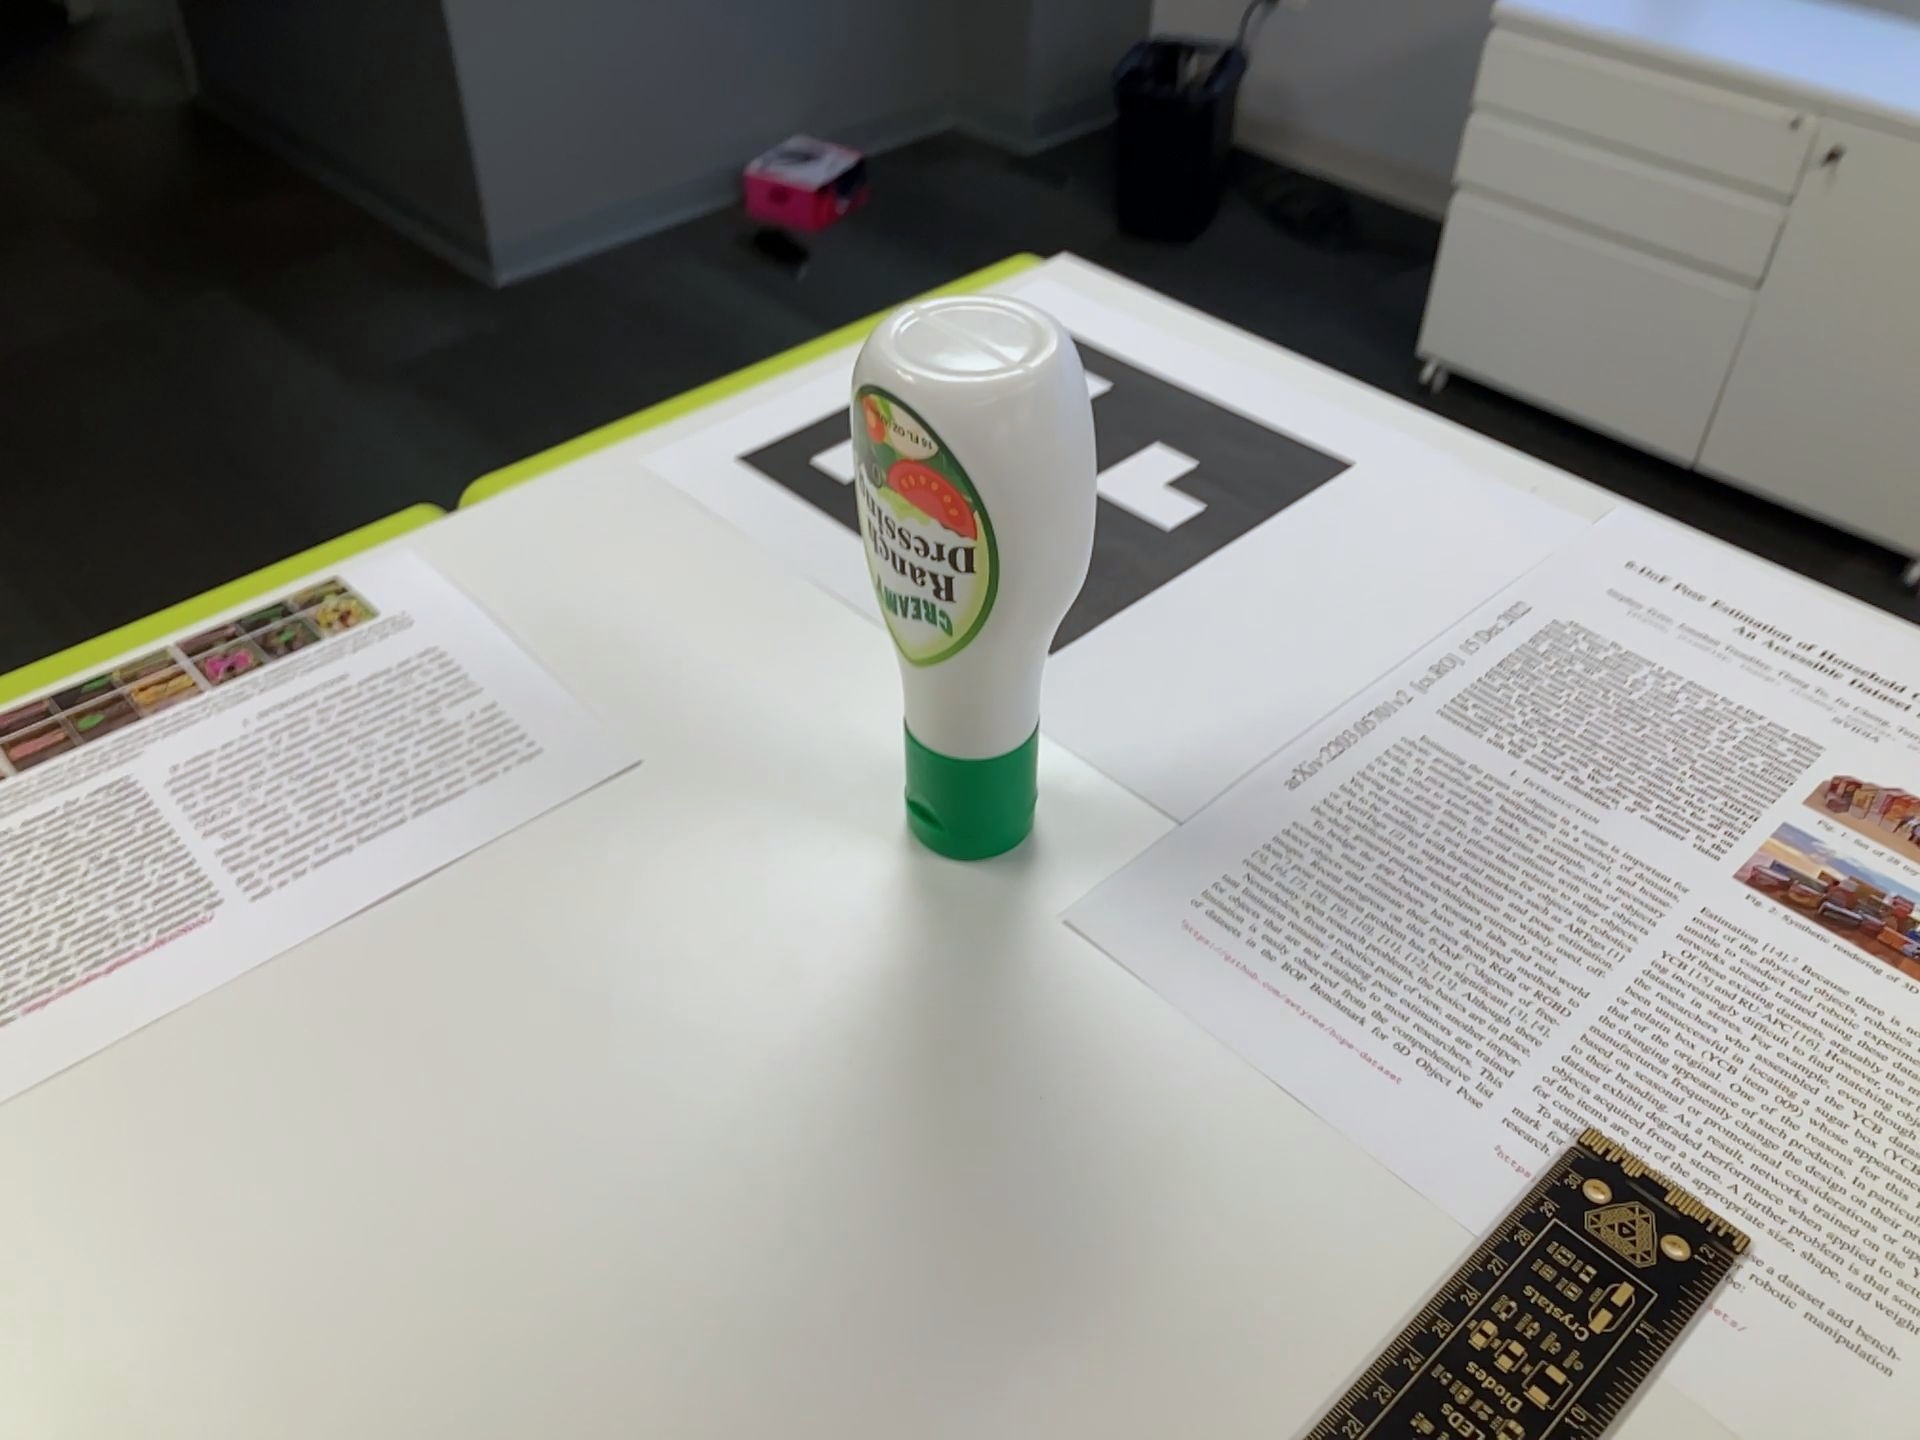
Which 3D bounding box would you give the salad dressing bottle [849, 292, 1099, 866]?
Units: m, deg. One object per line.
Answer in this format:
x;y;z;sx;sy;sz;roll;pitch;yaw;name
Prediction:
0.003;-0.027;0.389;0.044;0.147;0.064;-31;49;-29;salad dressing bottle
